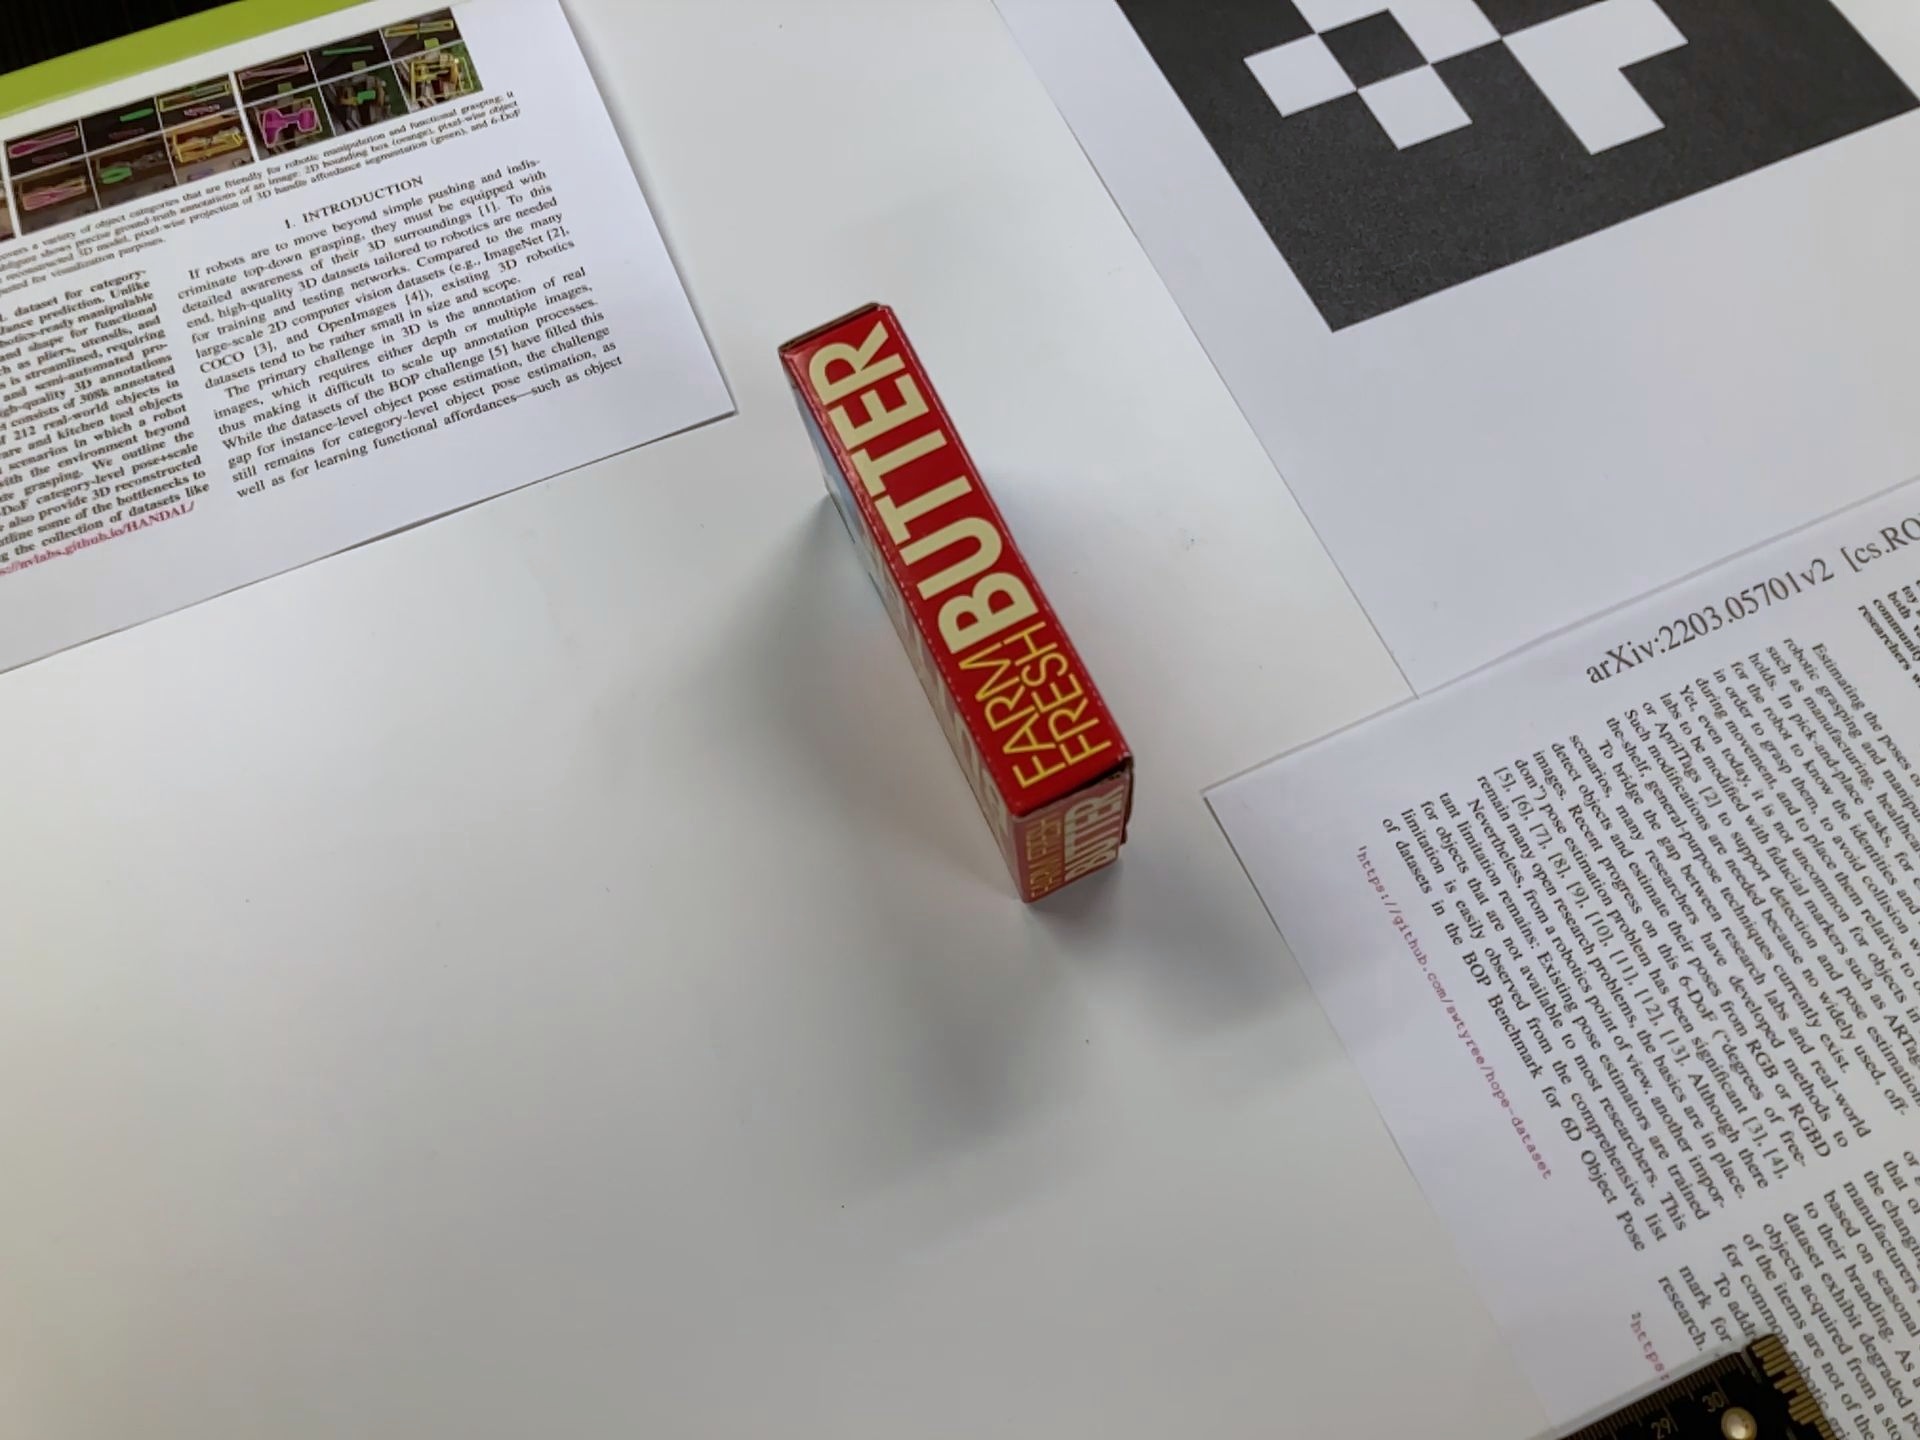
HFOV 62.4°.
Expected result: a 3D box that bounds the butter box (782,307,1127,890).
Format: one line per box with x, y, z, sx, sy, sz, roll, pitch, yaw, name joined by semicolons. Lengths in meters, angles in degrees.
-0.001;-0.023;0.302;0.024;0.053;0.103;-24;68;-4;butter box
